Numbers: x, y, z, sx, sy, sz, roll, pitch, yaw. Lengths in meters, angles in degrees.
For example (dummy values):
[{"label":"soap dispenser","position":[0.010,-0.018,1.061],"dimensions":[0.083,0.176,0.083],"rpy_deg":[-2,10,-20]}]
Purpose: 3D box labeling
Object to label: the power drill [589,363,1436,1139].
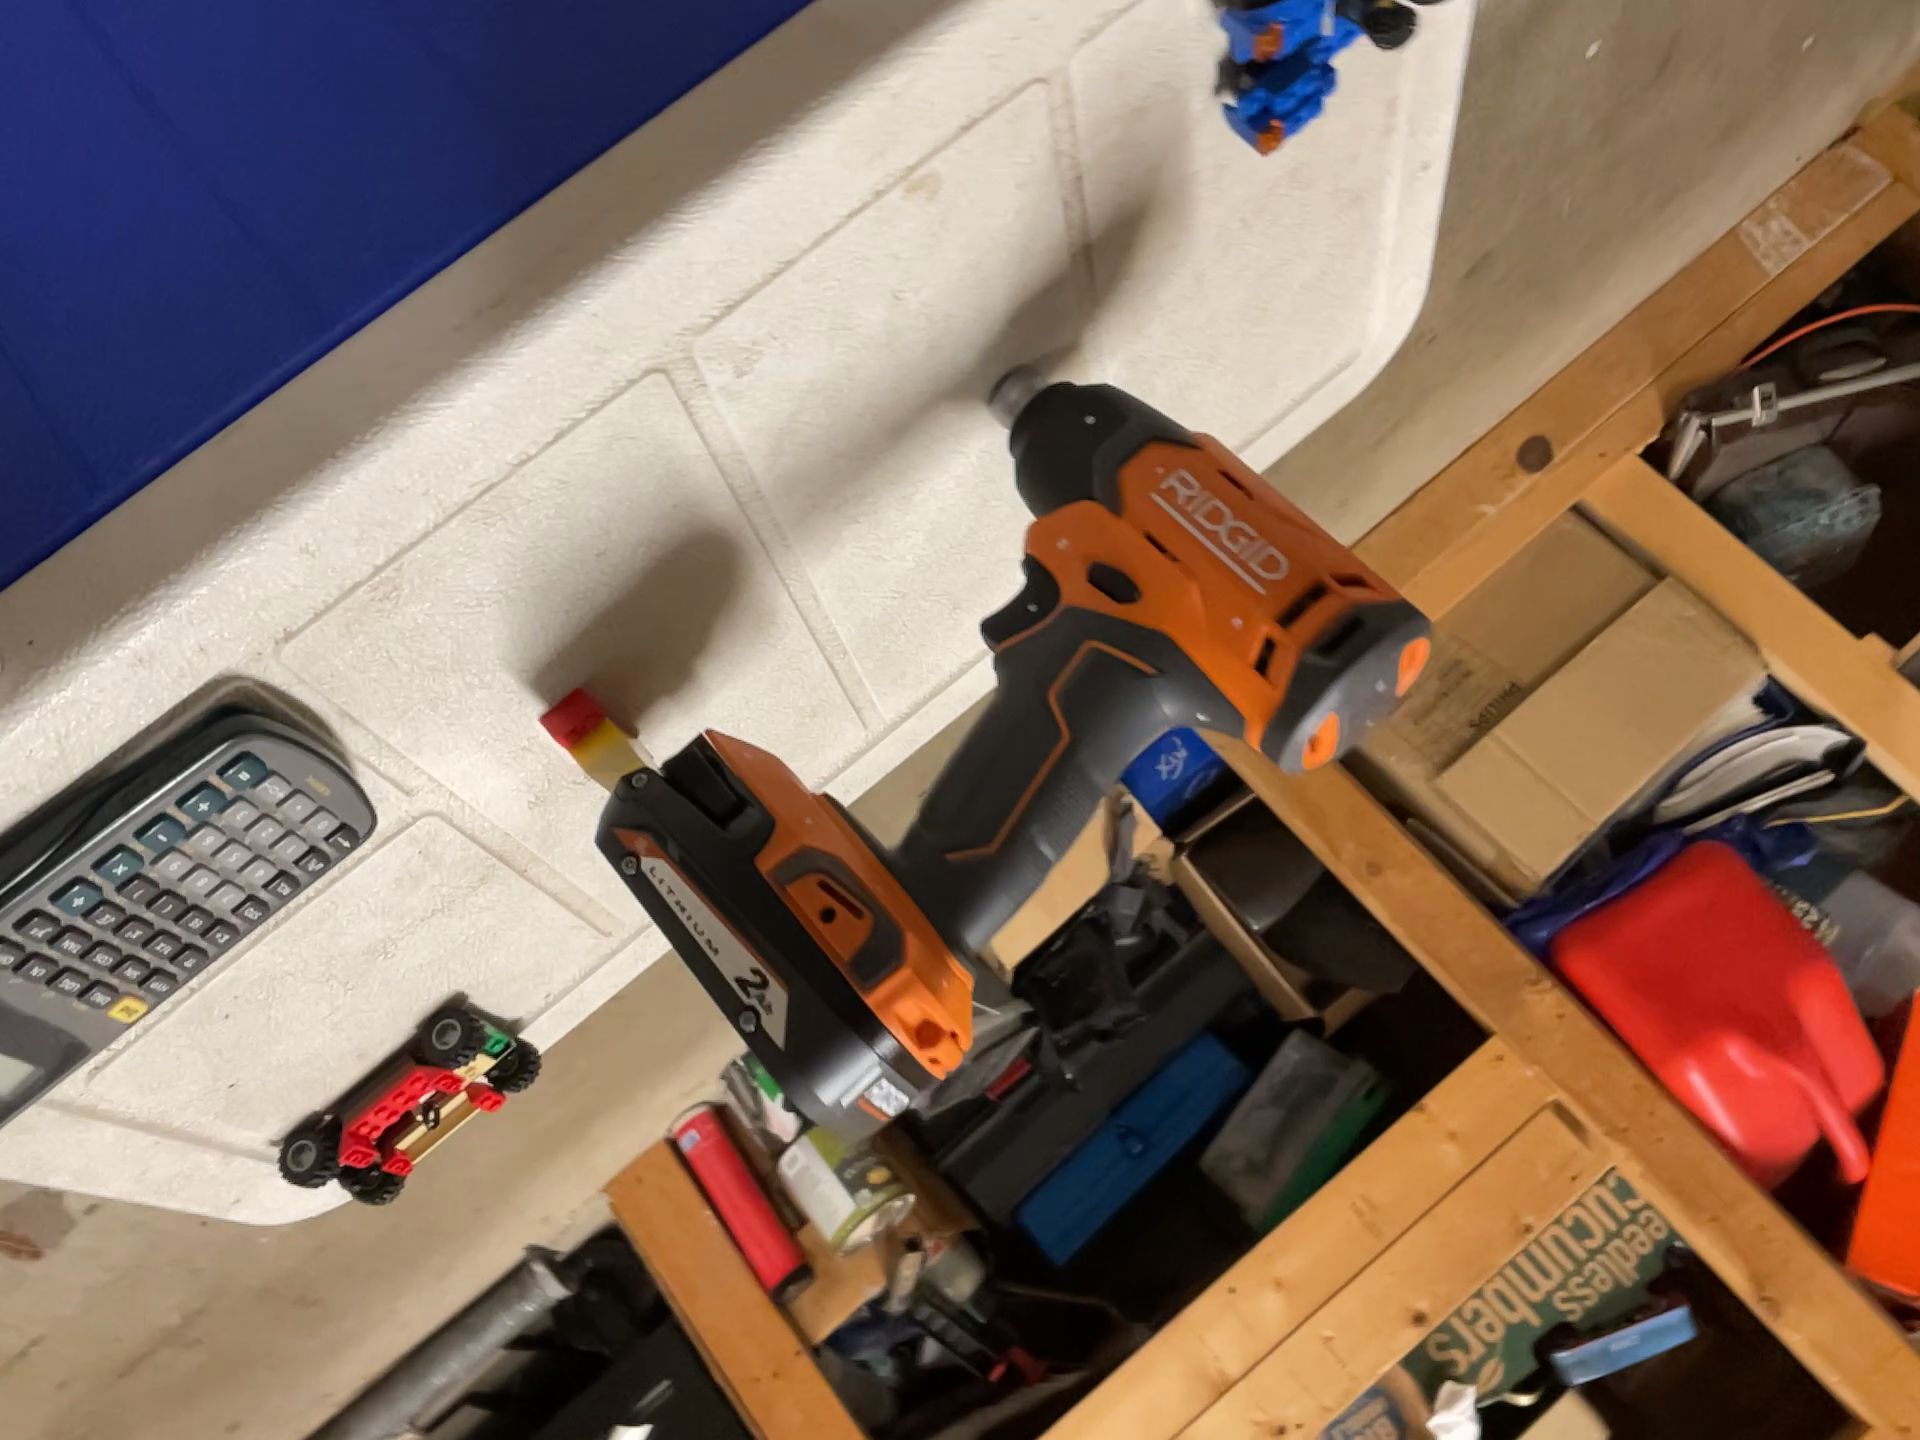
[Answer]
[{"label":"power drill","position":[0.005,-0.005,0.485],"dimensions":[0.226,0.164,0.084],"rpy_deg":[-40,156,-7]}]
